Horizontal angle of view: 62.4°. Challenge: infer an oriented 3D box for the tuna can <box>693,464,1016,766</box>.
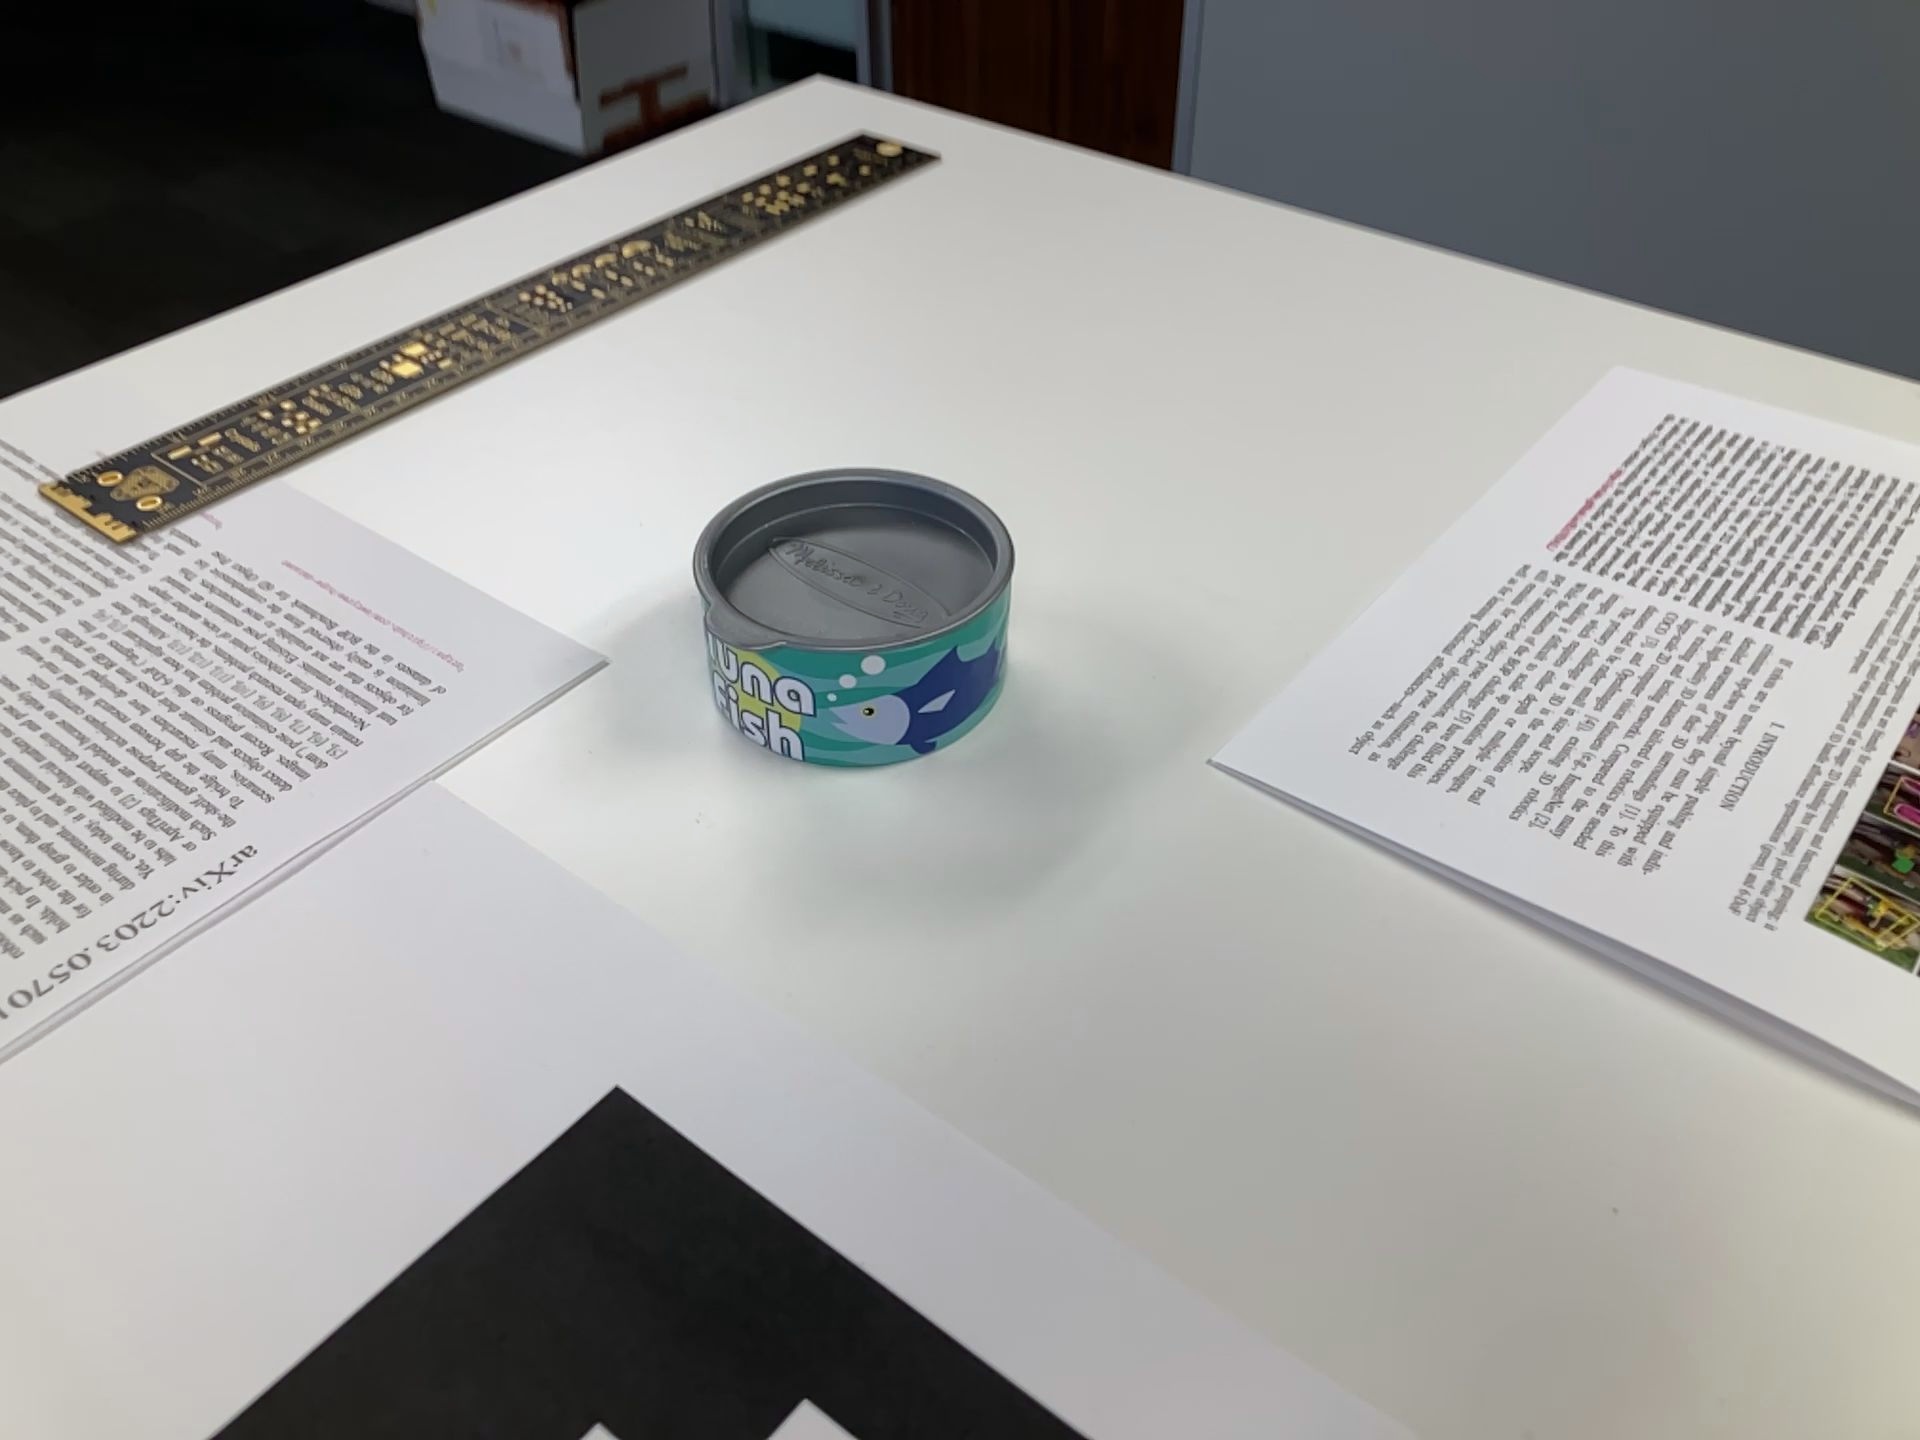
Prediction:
[{"bbox_3d":[-0.023,-0.022,0.334,0.071,0.033,0.071,0,41,0],"label":"tuna can"}]
